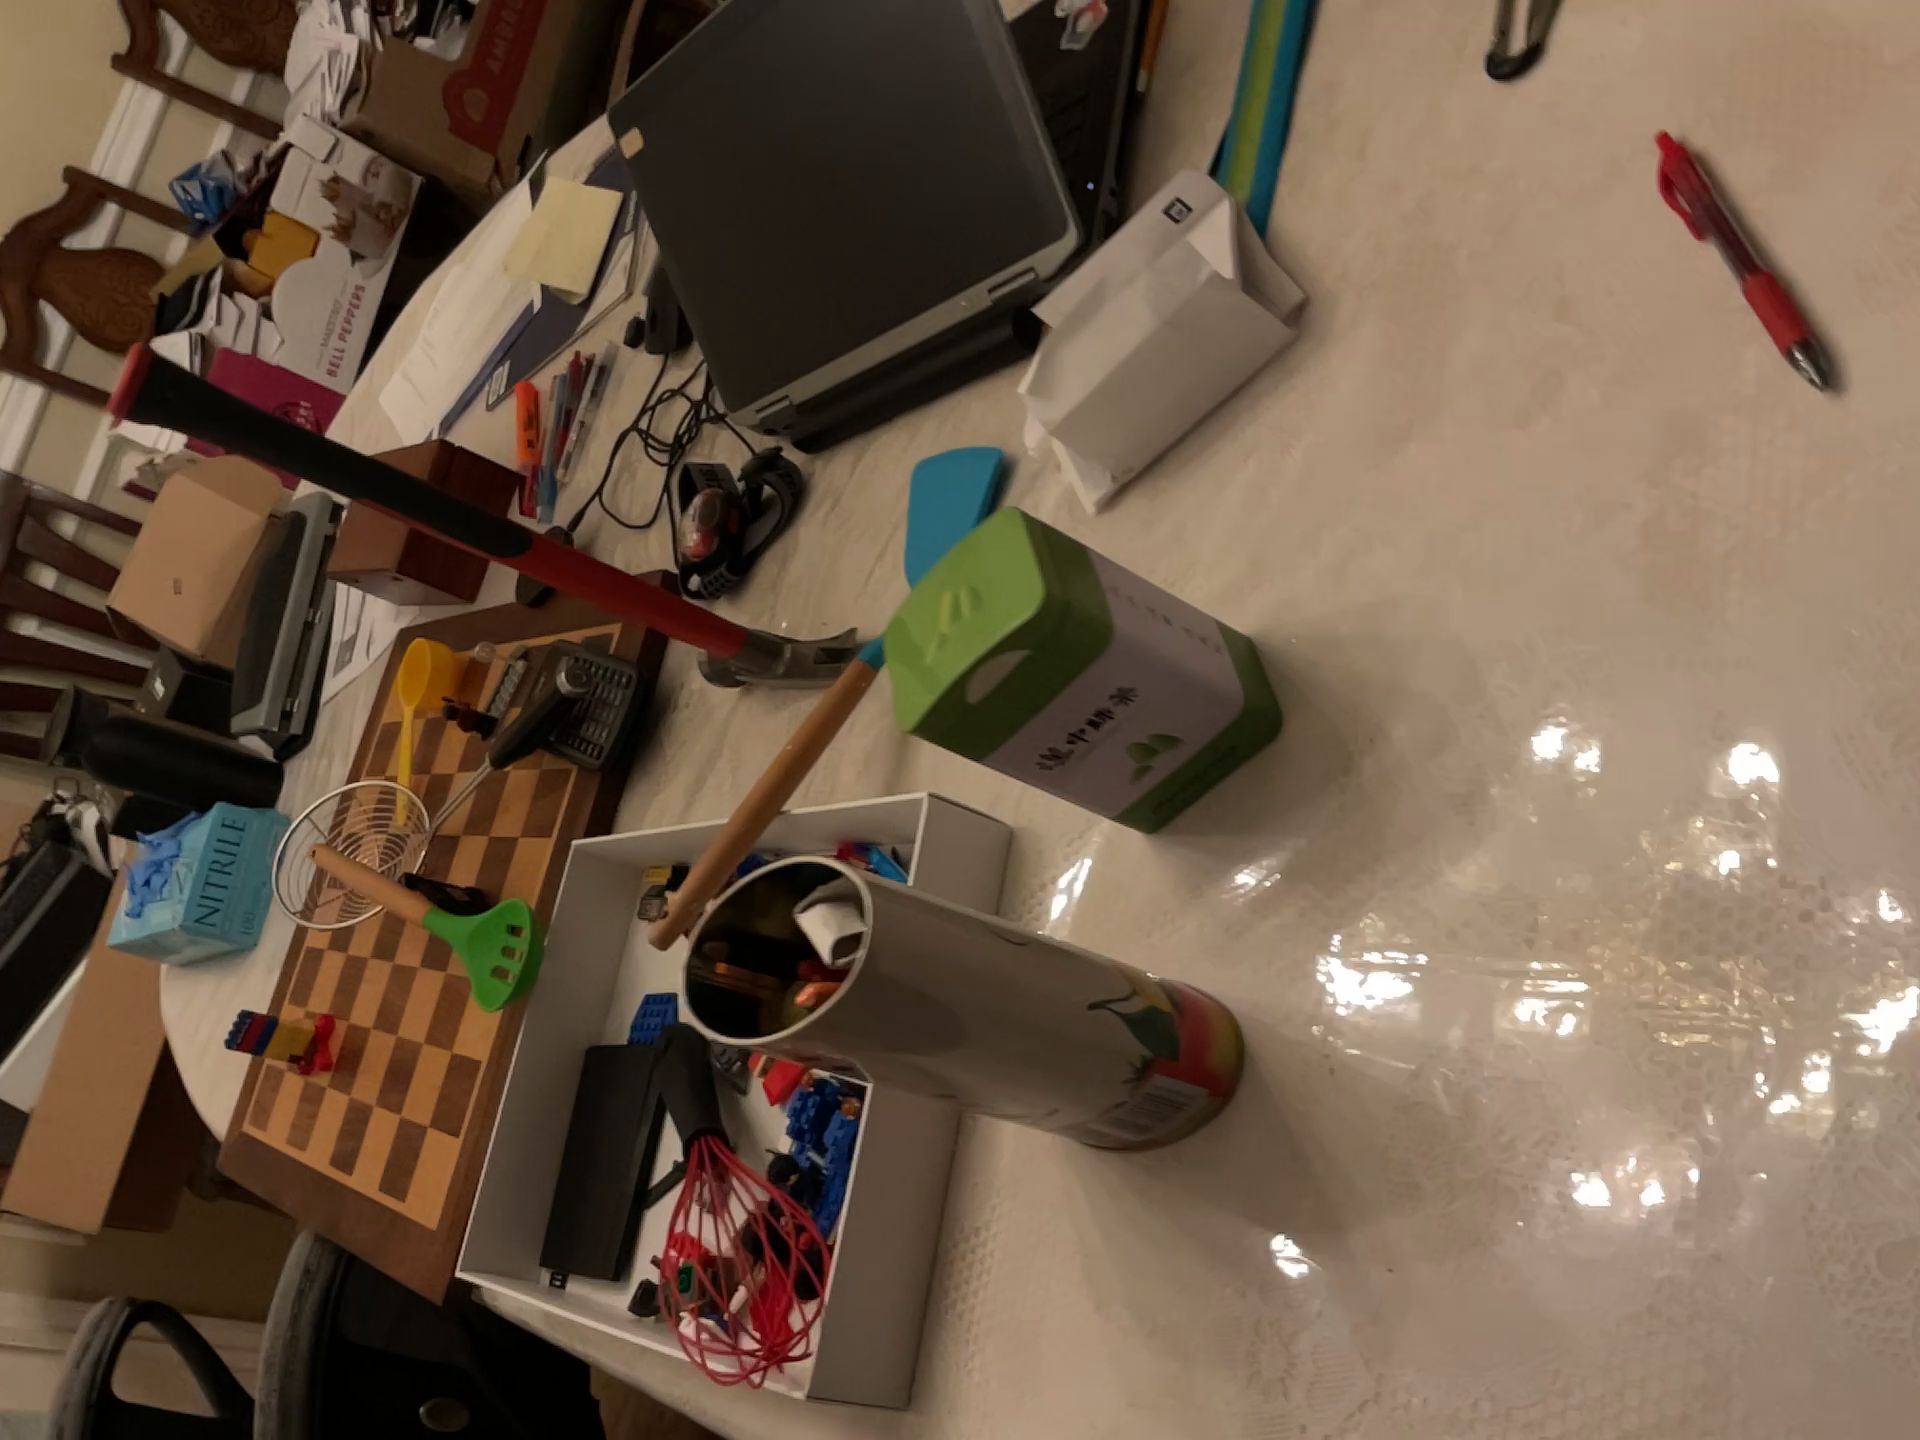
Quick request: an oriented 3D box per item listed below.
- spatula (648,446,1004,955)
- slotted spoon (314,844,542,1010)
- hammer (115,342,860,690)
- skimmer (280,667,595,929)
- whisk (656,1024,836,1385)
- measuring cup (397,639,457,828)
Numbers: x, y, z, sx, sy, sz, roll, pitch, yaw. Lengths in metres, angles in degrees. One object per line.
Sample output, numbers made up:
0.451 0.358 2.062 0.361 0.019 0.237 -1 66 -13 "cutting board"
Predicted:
-0.071 -0.015 0.830 0.083 0.044 0.317 4 53 51 "spatula"
-0.357 0.122 1.050 0.314 0.031 0.070 14 83 45 "slotted spoon"
-0.235 -0.097 0.840 0.143 0.385 0.038 -1 70 52 "hammer"
-0.385 0.046 1.150 0.363 0.090 0.127 -36 43 41 "skimmer"
-0.117 0.217 0.765 0.073 0.073 0.296 -44 23 -1 "whisk"
-0.443 0.012 1.316 0.062 0.029 0.156 -4 80 48 "measuring cup"
